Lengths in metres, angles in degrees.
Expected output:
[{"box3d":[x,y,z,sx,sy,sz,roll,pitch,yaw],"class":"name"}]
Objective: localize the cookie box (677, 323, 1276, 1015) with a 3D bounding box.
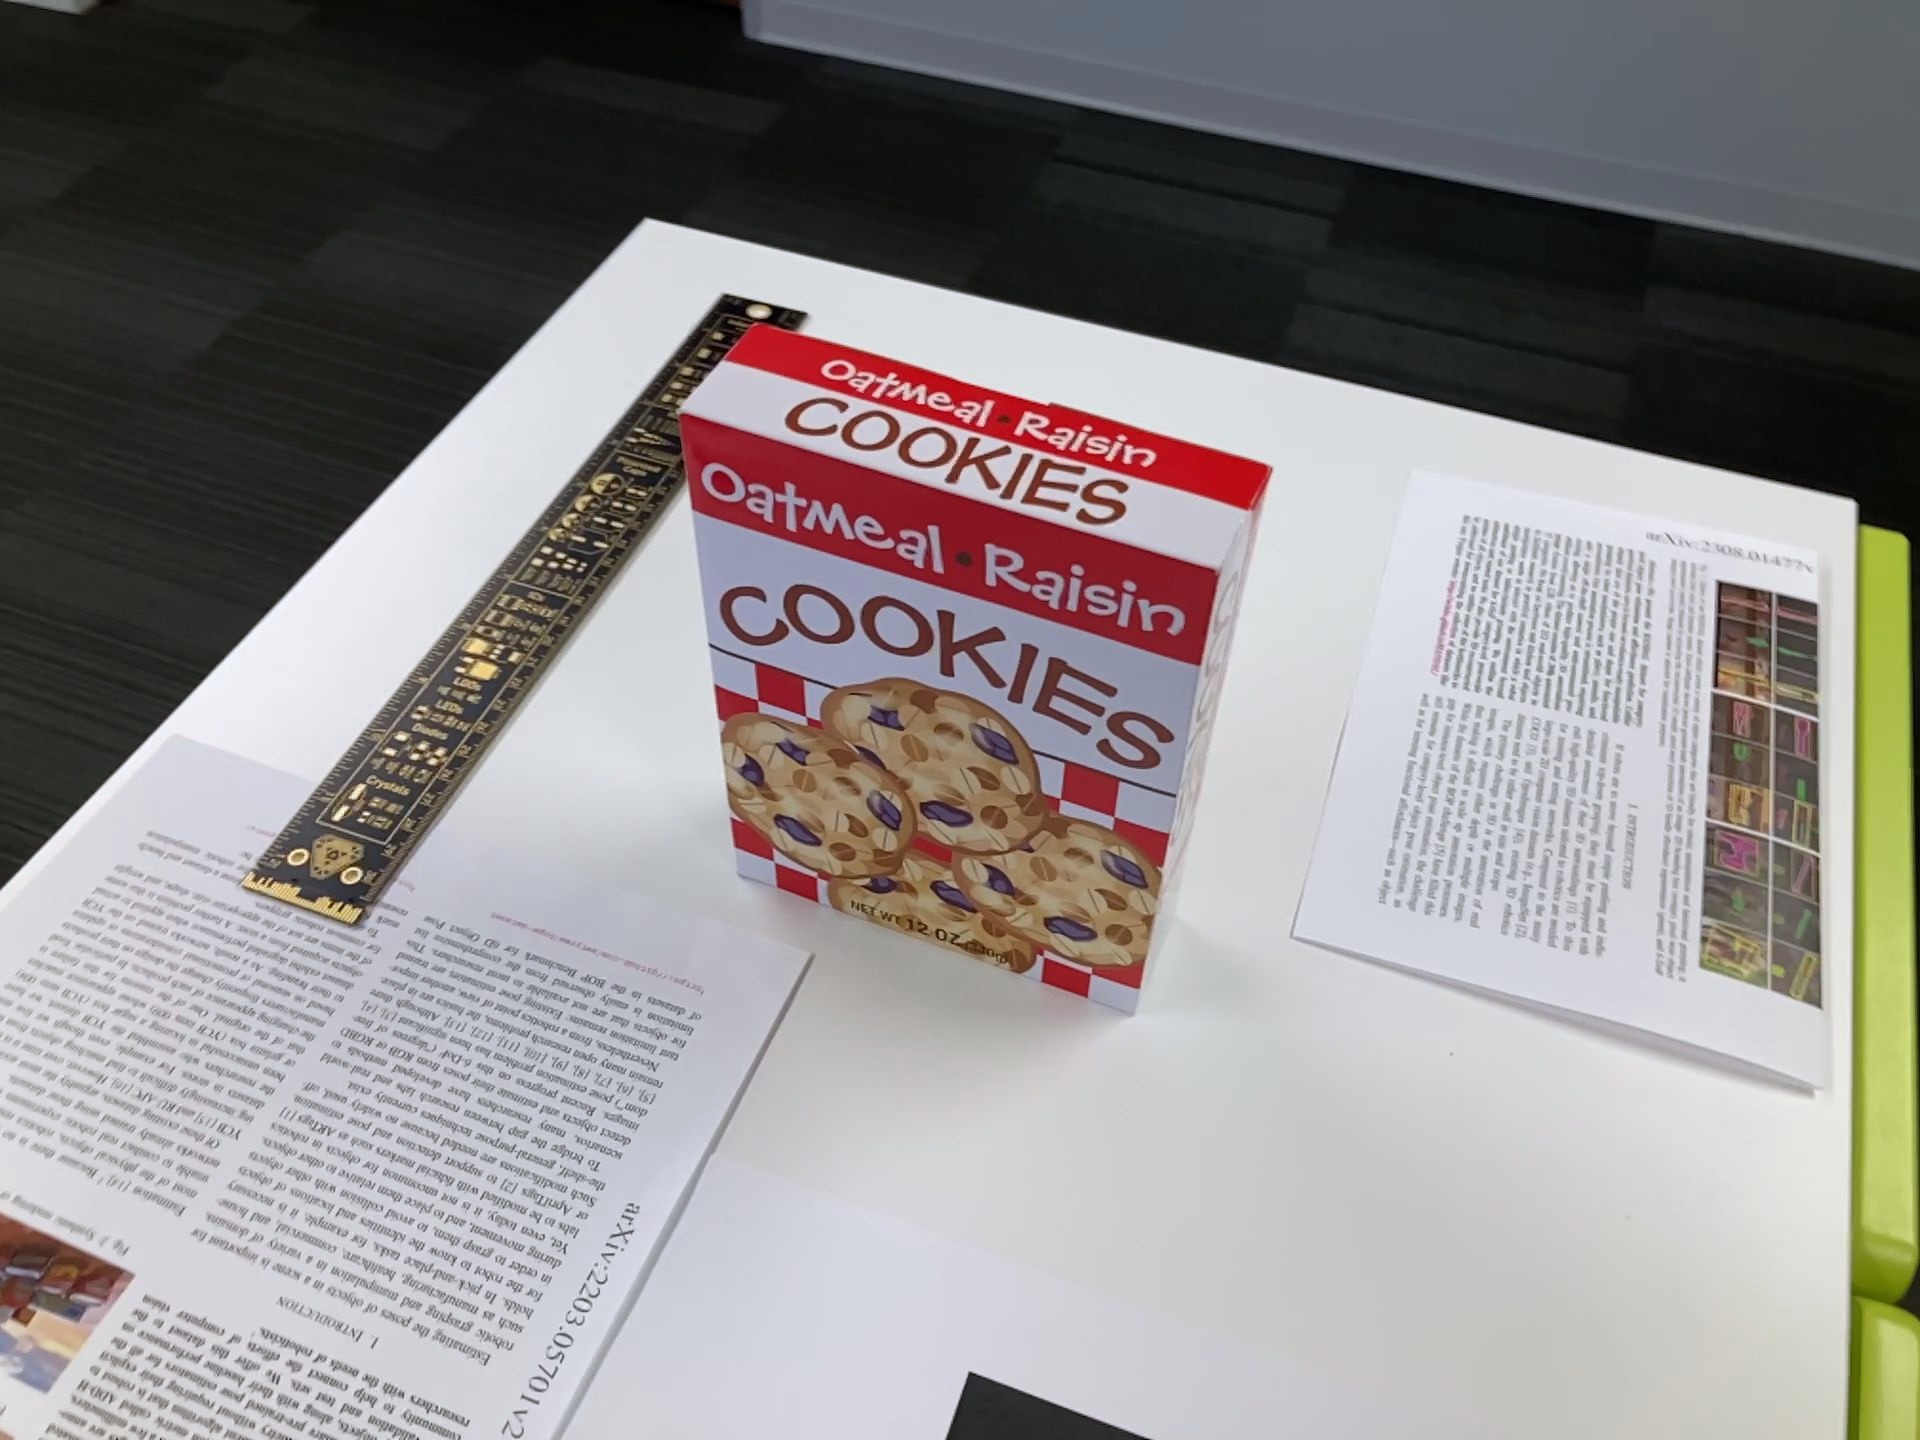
[{"box3d":[0.001,-0.006,0.393,0.123,0.167,0.040,18,50,14],"class":"cookie box"}]
